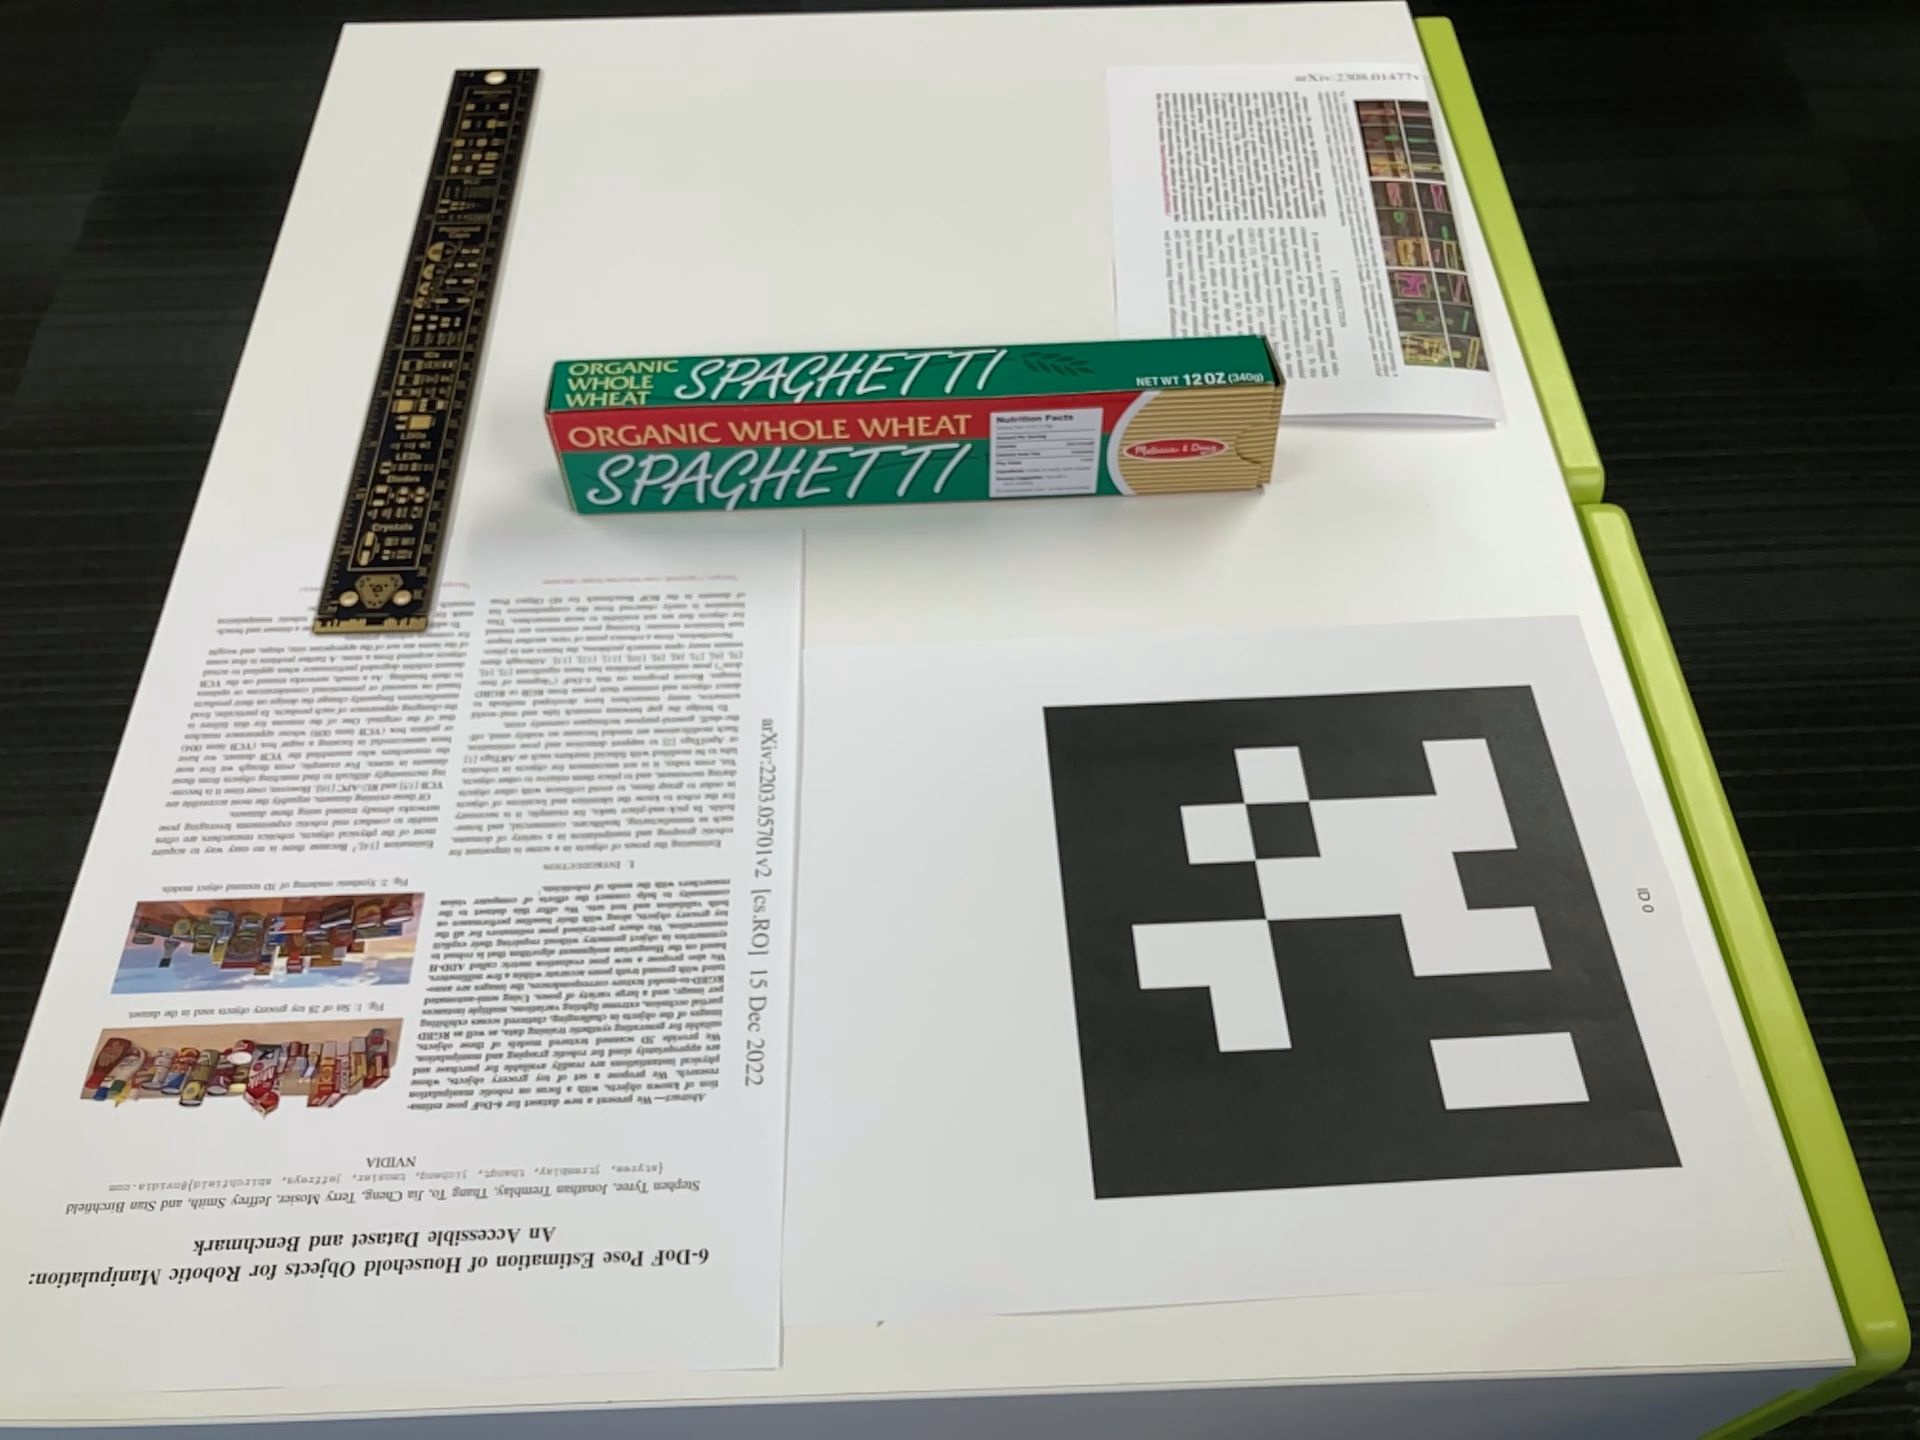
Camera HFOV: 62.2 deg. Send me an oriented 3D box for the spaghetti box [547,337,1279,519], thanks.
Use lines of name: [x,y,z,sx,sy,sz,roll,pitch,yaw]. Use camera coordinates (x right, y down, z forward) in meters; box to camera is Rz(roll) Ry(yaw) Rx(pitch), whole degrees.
spaghetti box: [-0.016,-0.103,0.562,0.250,0.050,0.028,-2,52,-1]
